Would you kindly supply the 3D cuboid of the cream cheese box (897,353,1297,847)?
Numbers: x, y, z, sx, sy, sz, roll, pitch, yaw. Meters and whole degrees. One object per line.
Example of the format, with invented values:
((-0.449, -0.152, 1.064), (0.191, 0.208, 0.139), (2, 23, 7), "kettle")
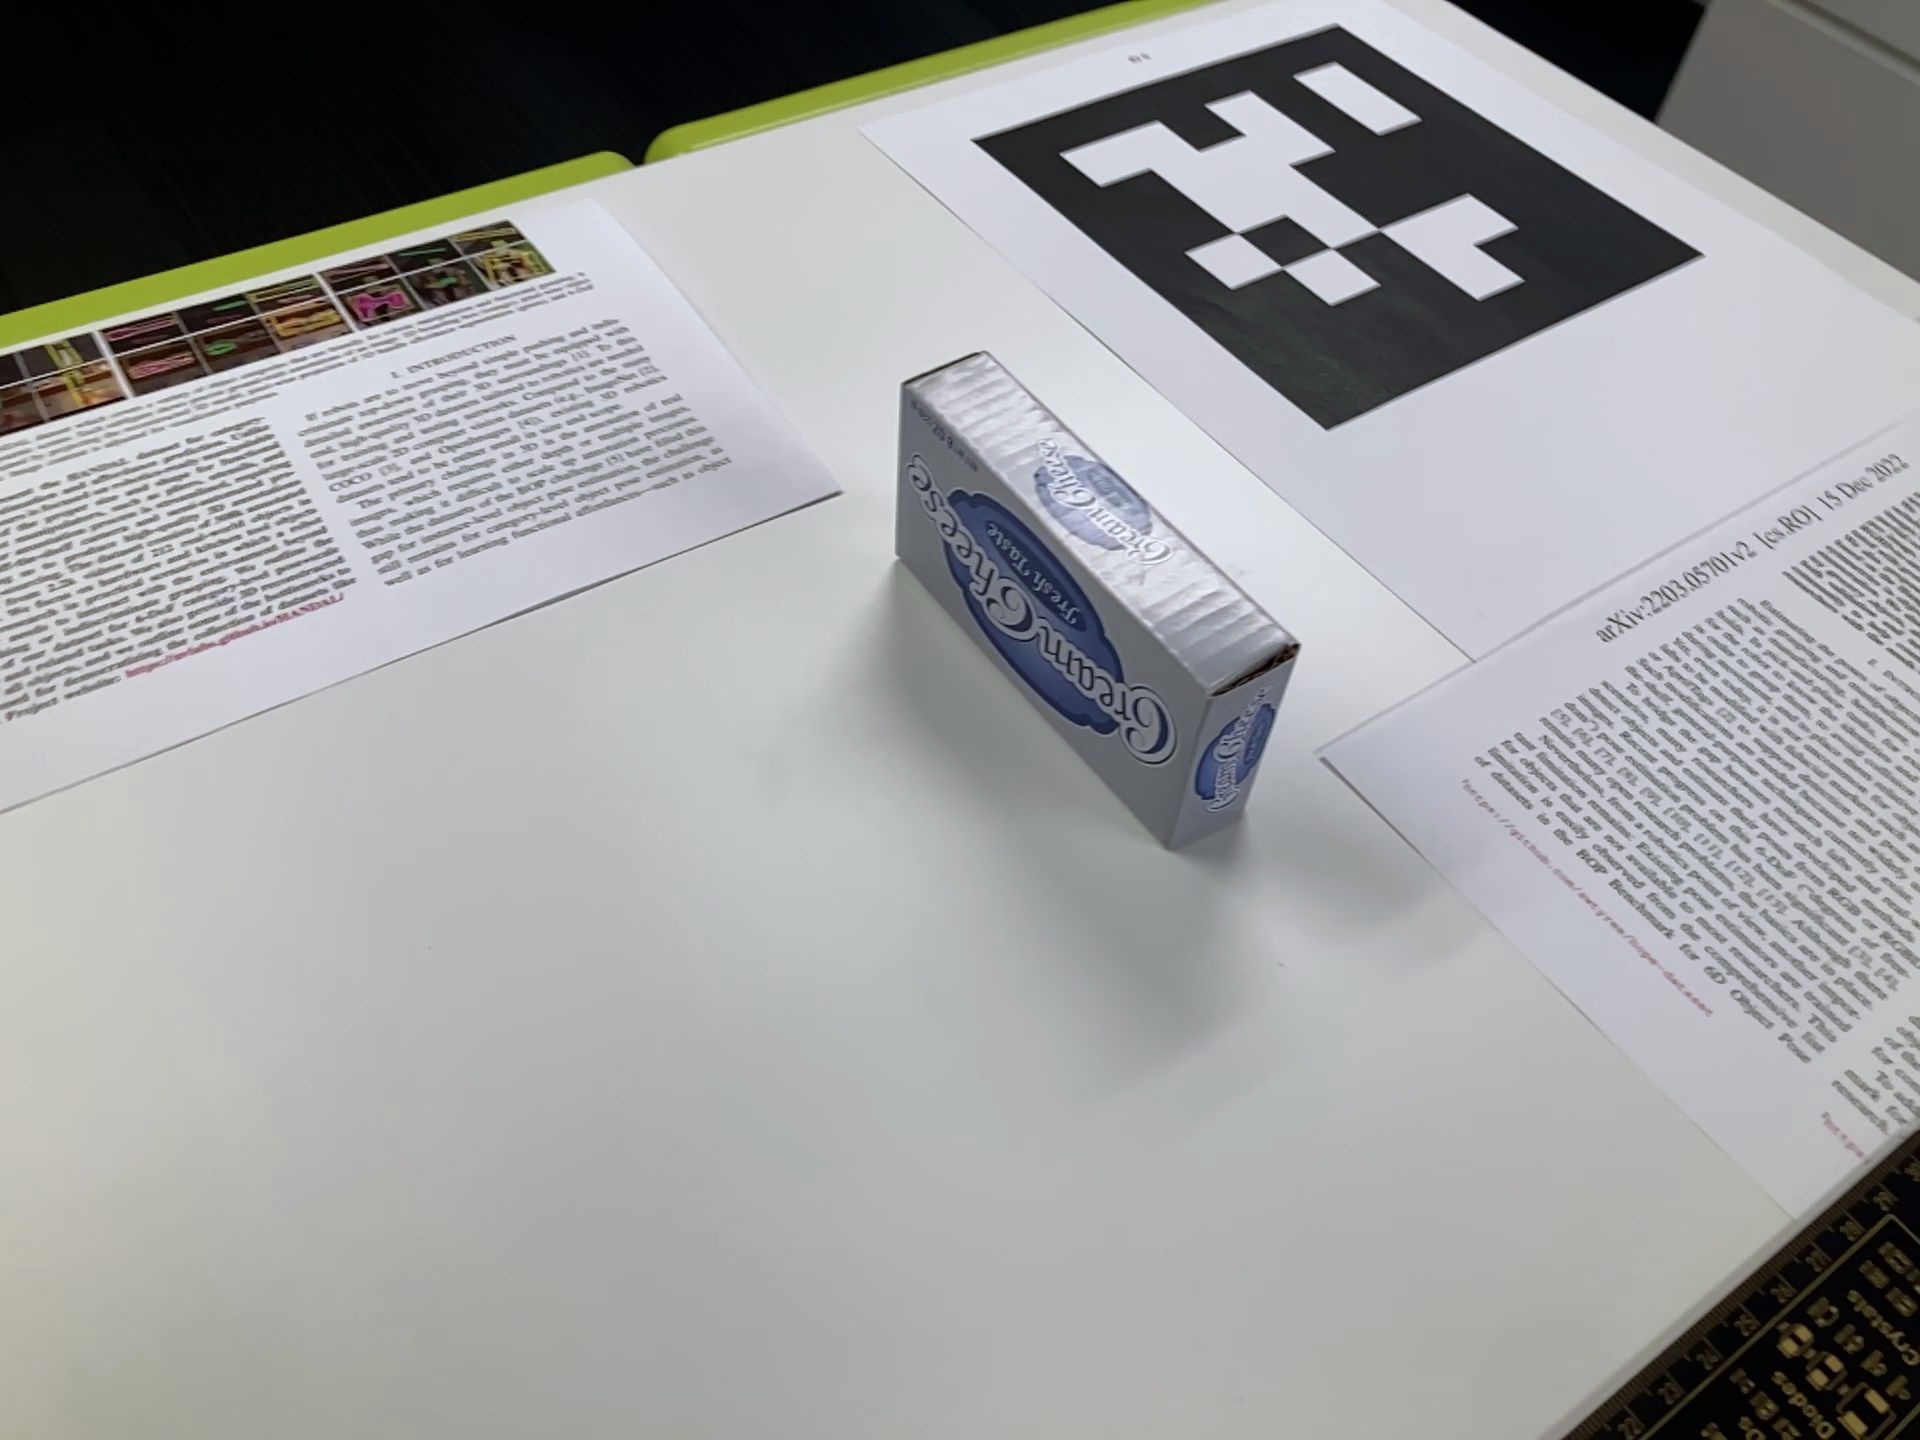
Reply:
((0.024, -0.027, 0.338), (0.024, 0.053, 0.104), (-27, 58, -23), "cream cheese box")
